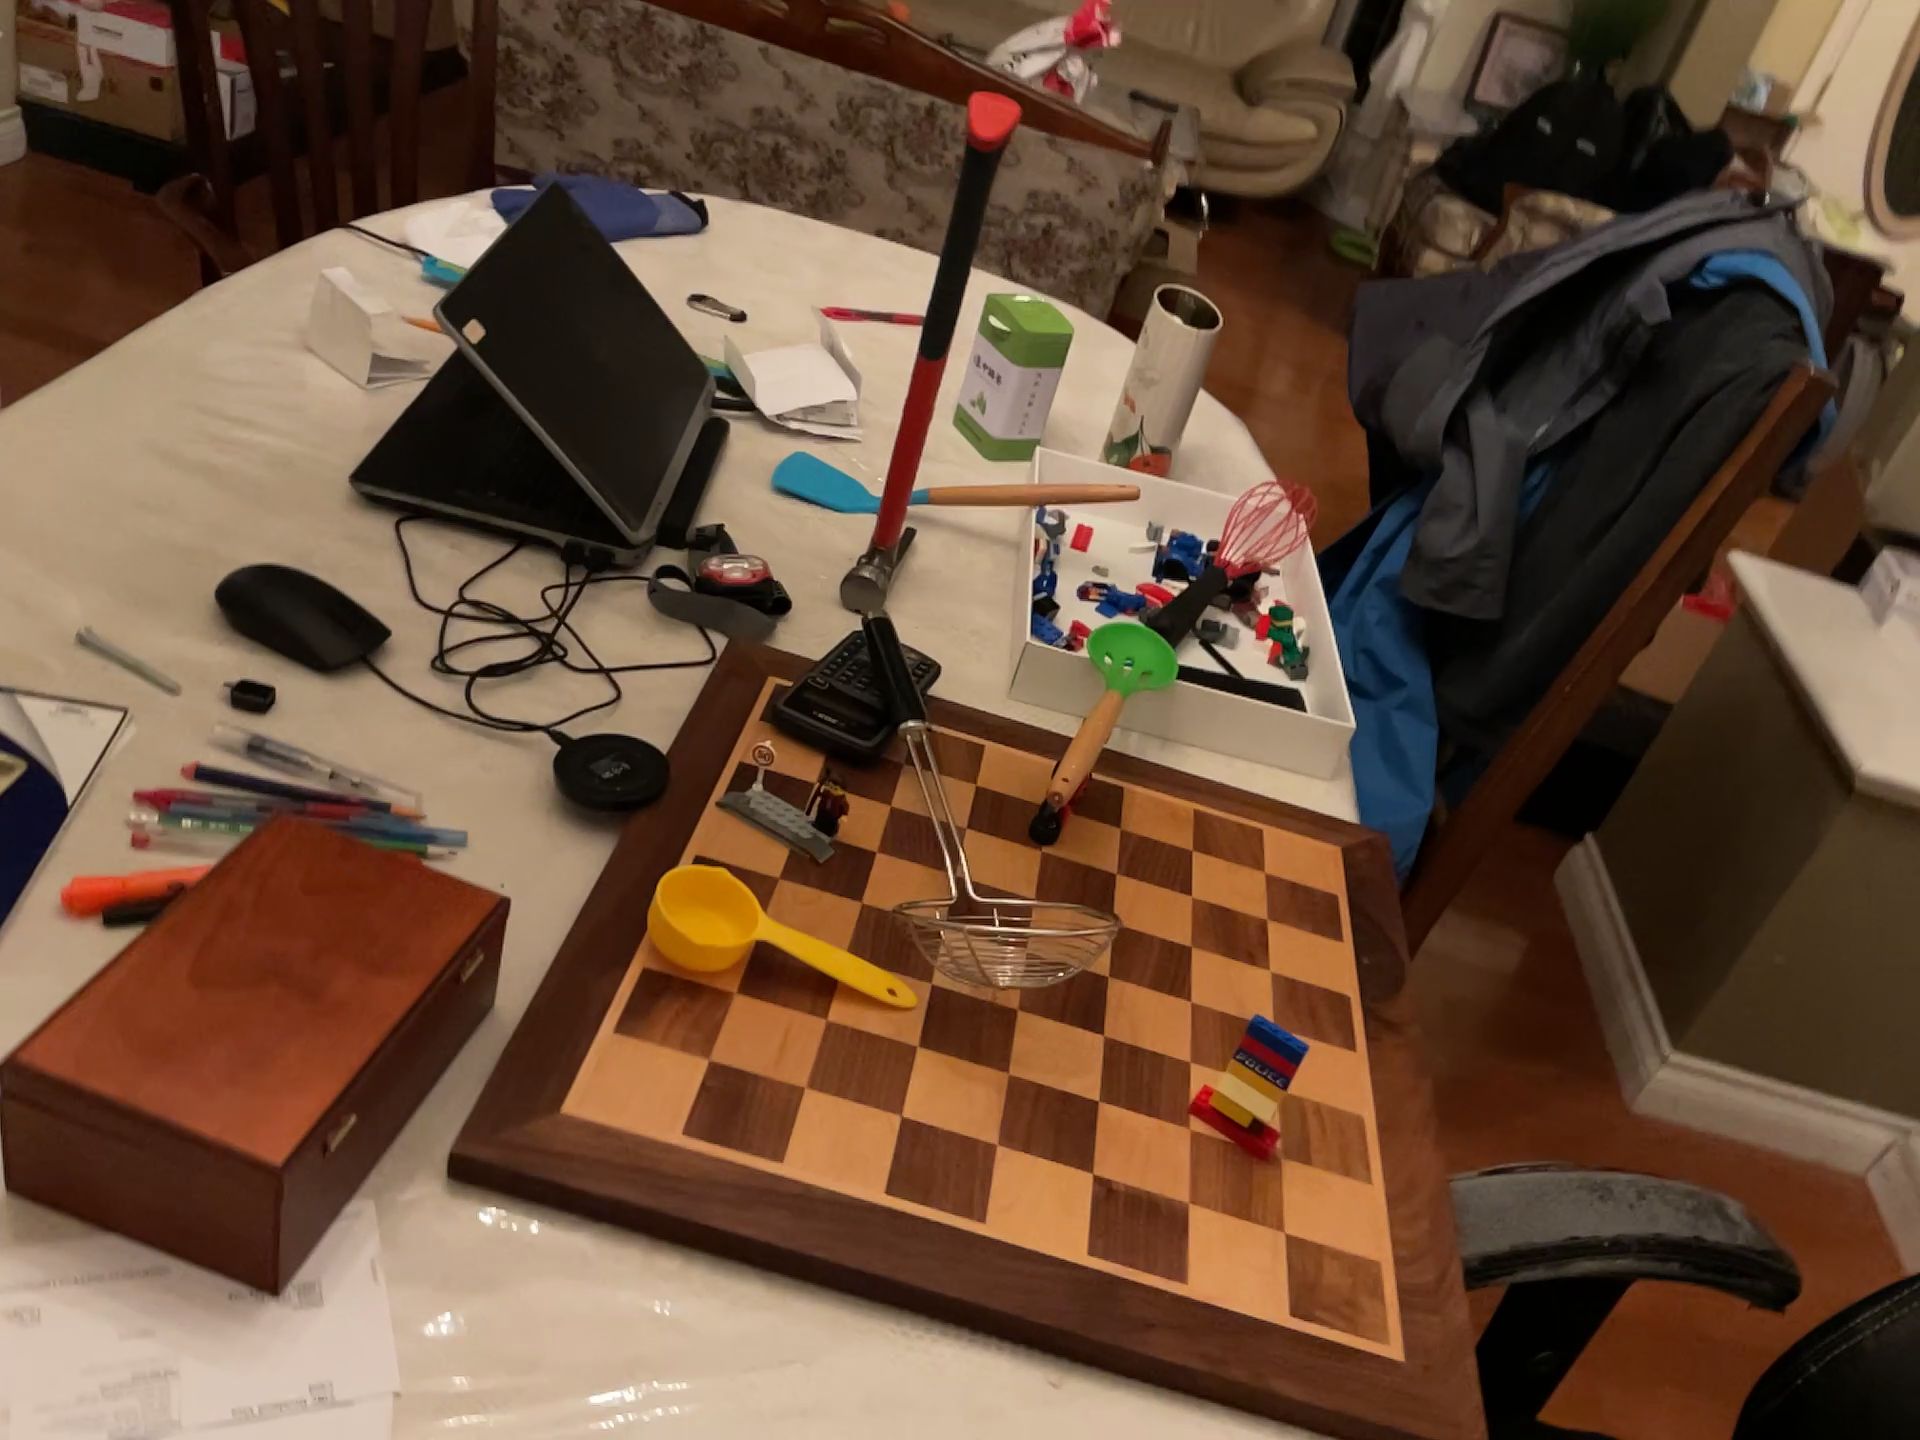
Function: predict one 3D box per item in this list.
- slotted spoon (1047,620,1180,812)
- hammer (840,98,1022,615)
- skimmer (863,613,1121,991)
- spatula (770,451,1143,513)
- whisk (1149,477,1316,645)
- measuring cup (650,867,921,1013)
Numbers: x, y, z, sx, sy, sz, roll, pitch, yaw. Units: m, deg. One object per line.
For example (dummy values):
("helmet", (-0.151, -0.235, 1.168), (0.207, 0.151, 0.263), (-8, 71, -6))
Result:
("slotted spoon", (0.095, -0.005, 1.051), (0.070, 0.031, 0.313), (24, 24, 6))
("hammer", (-0.020, -0.273, 1.200), (0.038, 0.386, 0.143), (18, 33, 1))
("skimmer", (-0.006, 0.028, 0.979), (0.127, 0.090, 0.364), (2, 40, -20))
("spatula", (-0.002, -0.202, 1.369), (0.318, 0.044, 0.082), (1, 29, 14))
("whisk", (0.233, -0.133, 1.385), (0.073, 0.073, 0.295), (16, 42, 33))
("measuring cup", (-0.096, 0.131, 0.864), (0.156, 0.029, 0.062), (27, 29, -8))
